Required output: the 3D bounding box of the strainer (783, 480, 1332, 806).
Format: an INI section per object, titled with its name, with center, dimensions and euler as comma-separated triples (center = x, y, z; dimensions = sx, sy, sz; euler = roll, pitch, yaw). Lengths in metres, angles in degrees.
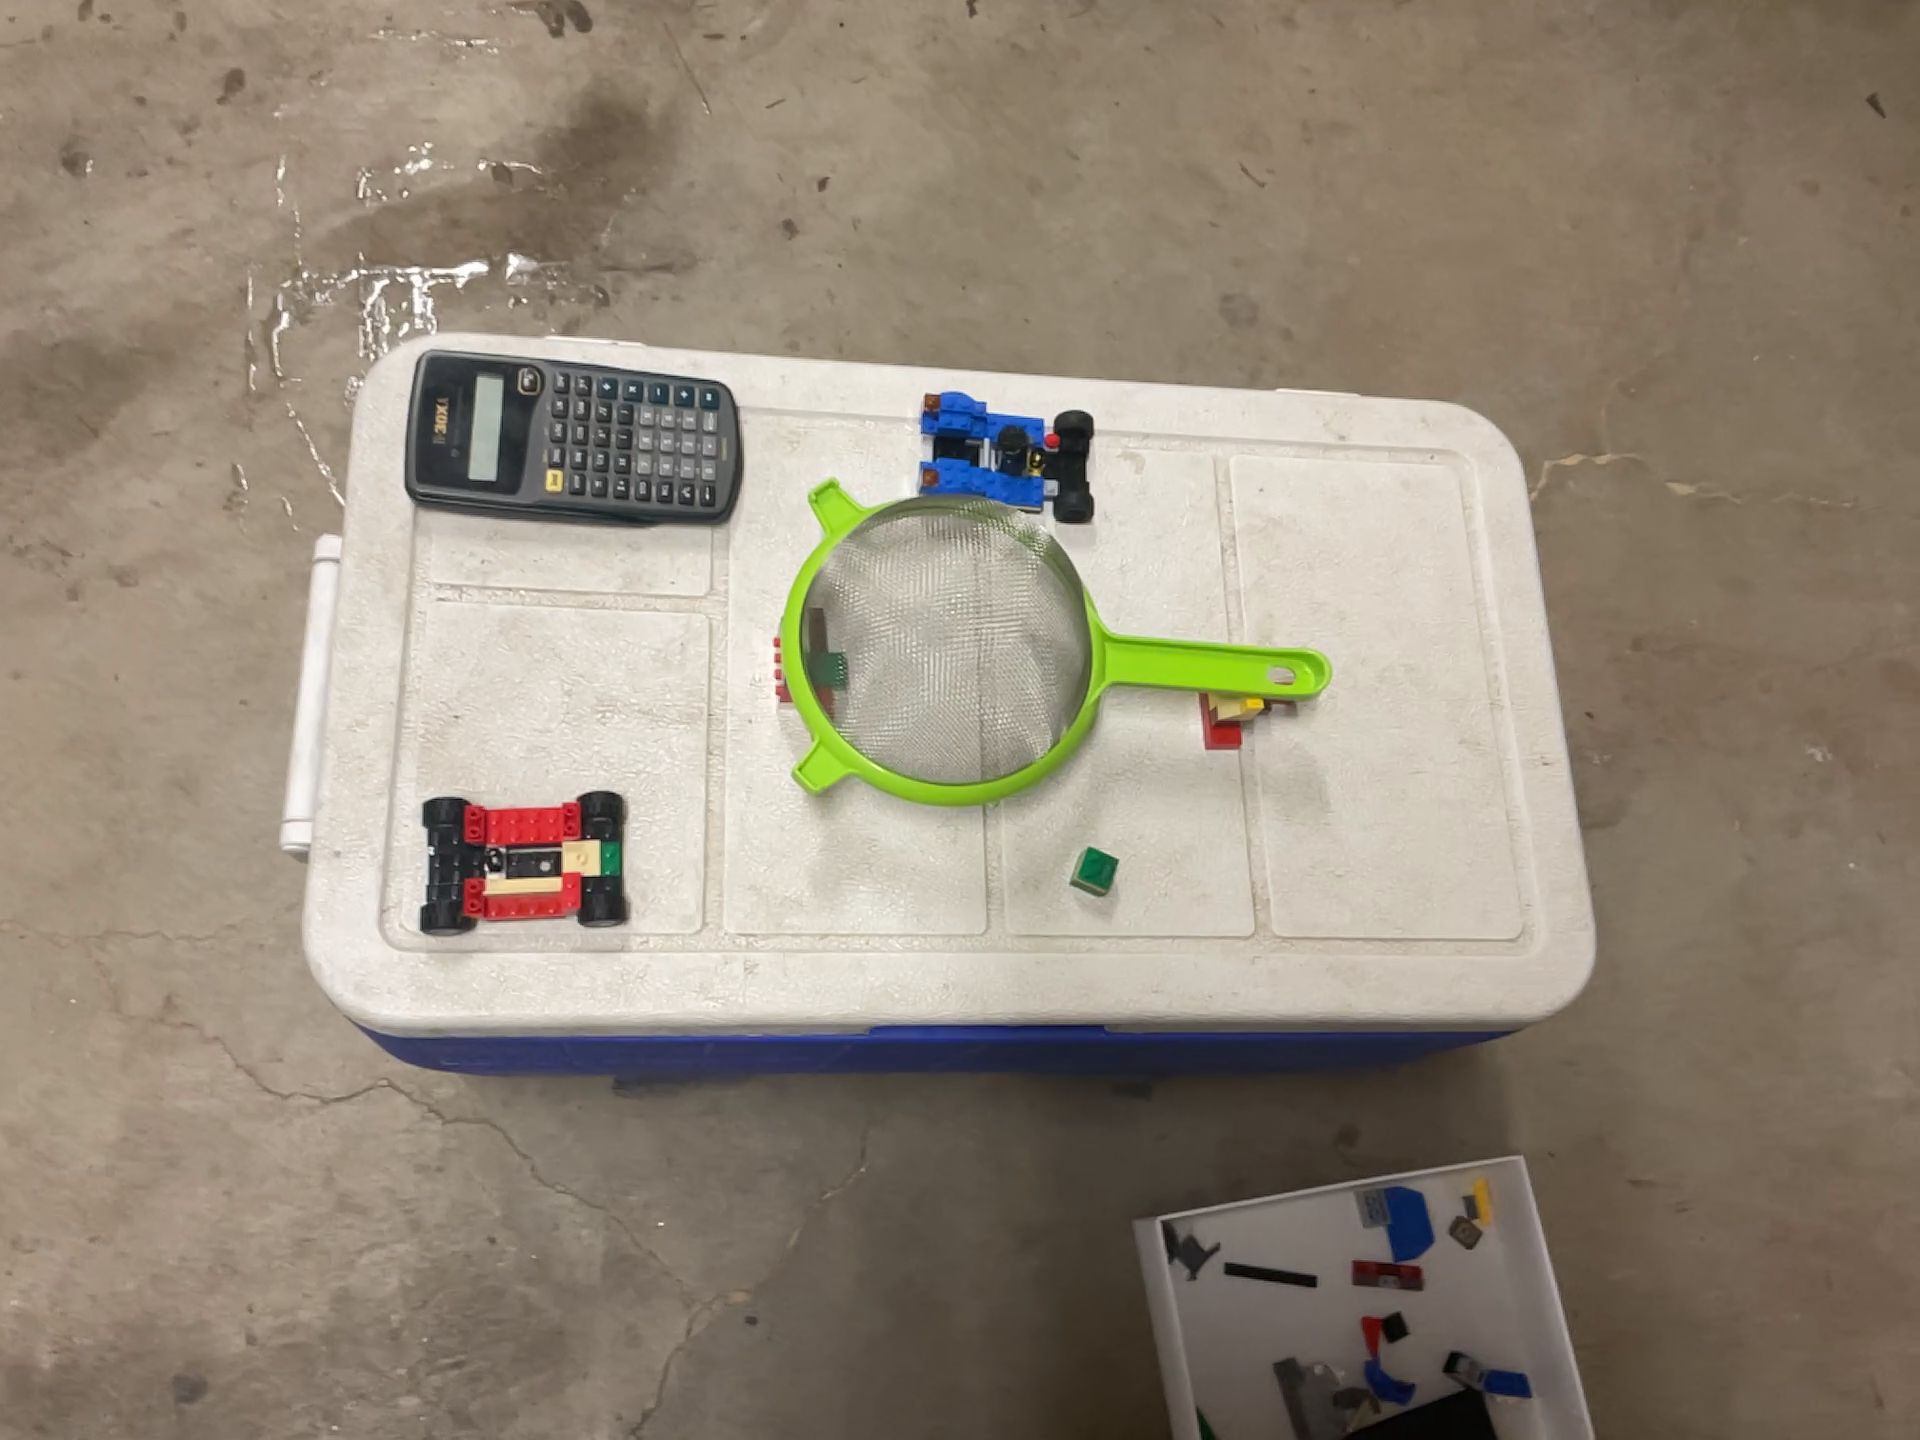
[strainer]
center = 0.051, -0.039, 0.716
dimensions = 0.256, 0.069, 0.152
euler = 4, 69, -8
